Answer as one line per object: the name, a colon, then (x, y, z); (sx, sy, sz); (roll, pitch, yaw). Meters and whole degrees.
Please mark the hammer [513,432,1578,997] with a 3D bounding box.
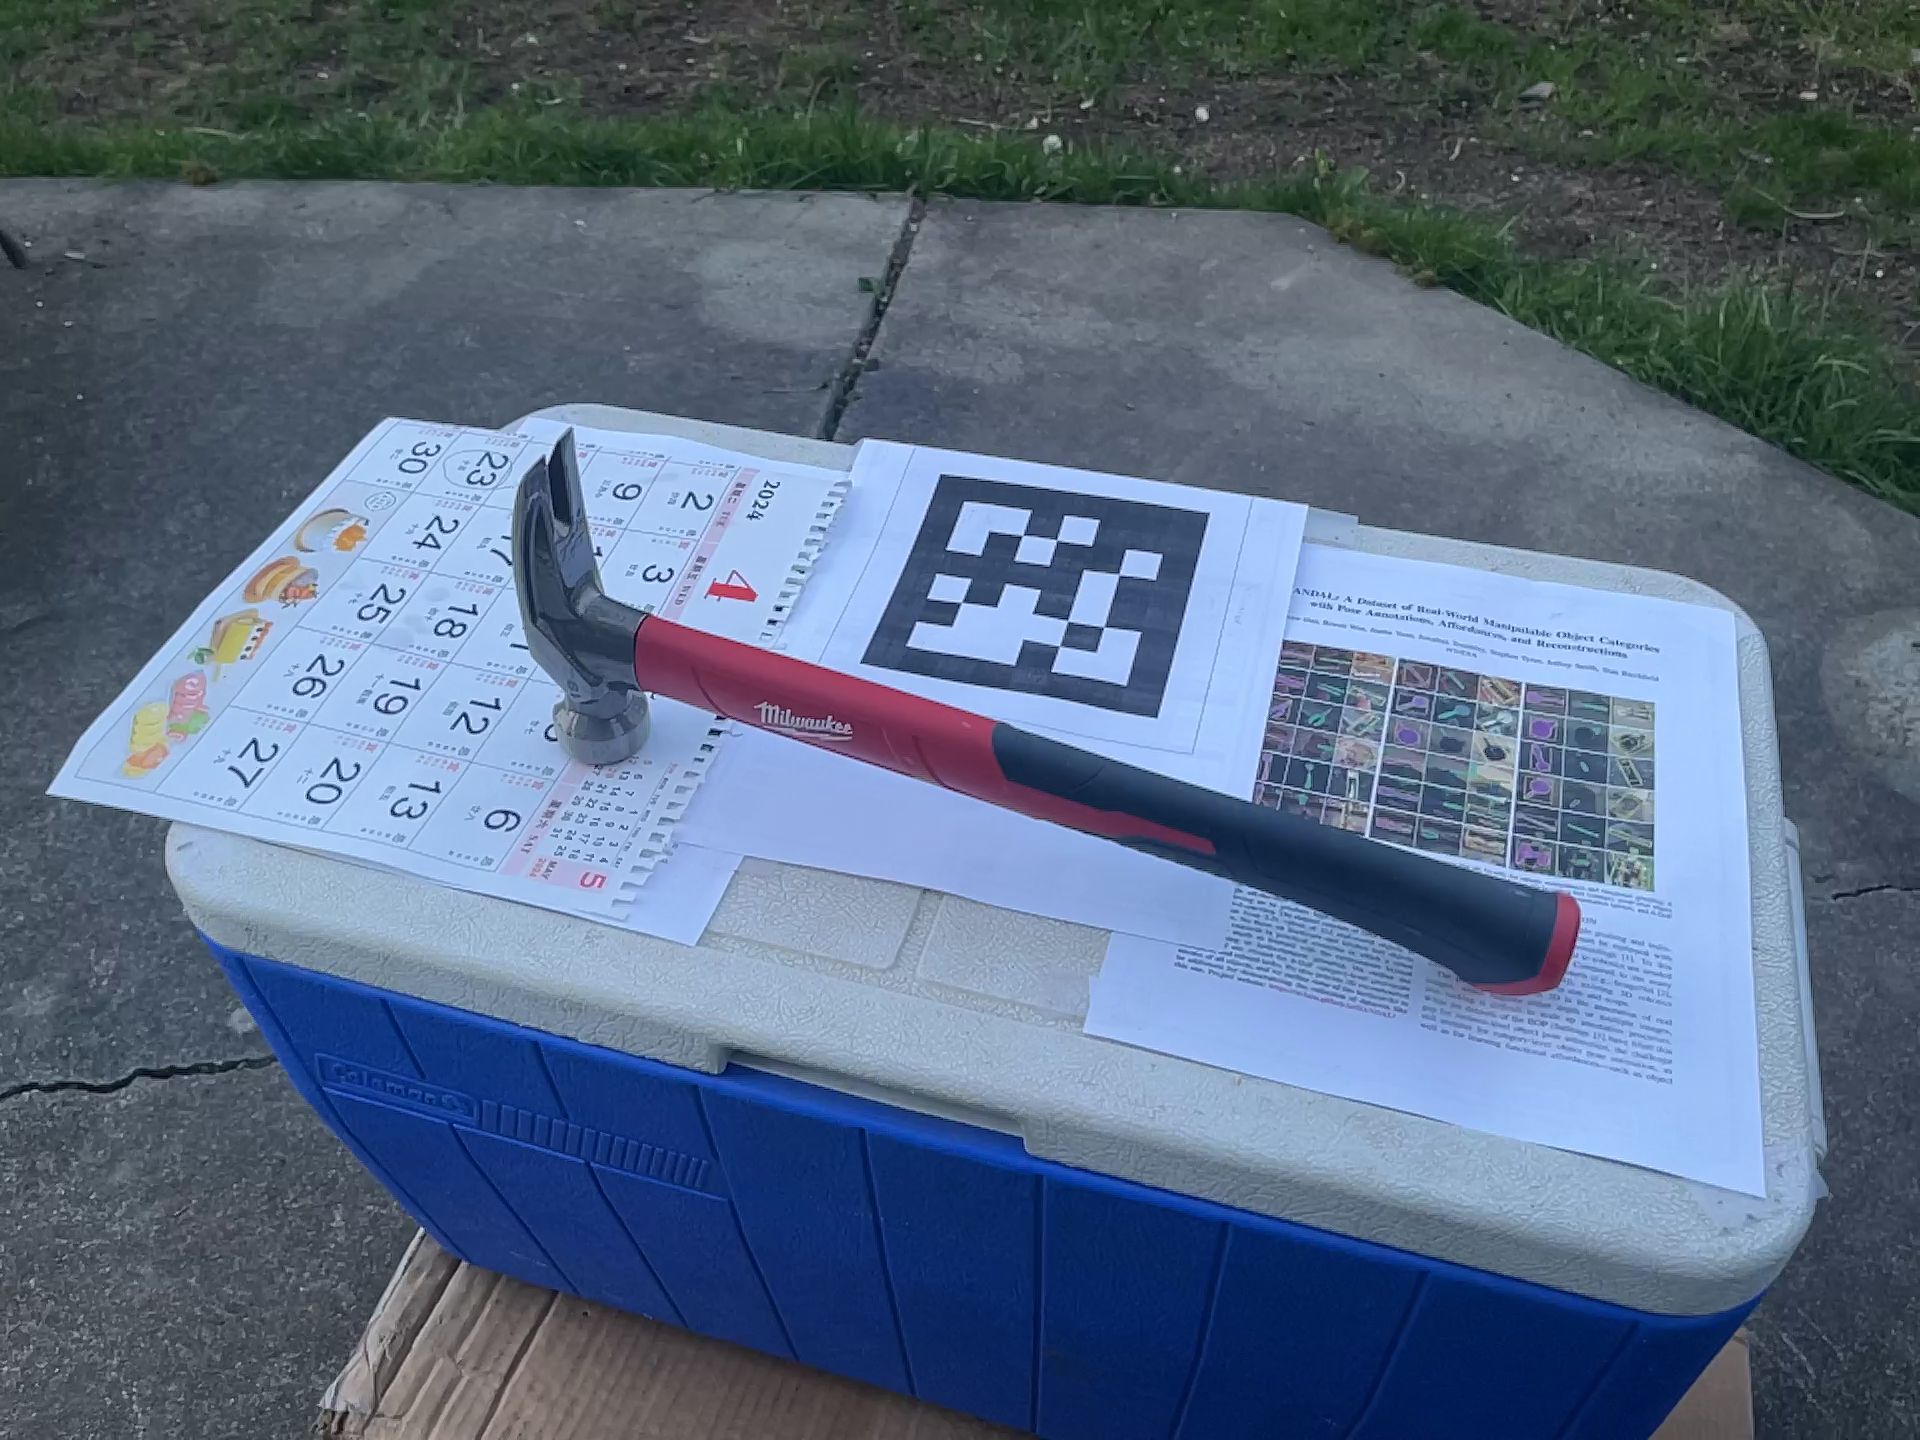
hammer: (0.022, 0.008, 0.544); (0.386, 0.143, 0.038); (17, 48, 12)
